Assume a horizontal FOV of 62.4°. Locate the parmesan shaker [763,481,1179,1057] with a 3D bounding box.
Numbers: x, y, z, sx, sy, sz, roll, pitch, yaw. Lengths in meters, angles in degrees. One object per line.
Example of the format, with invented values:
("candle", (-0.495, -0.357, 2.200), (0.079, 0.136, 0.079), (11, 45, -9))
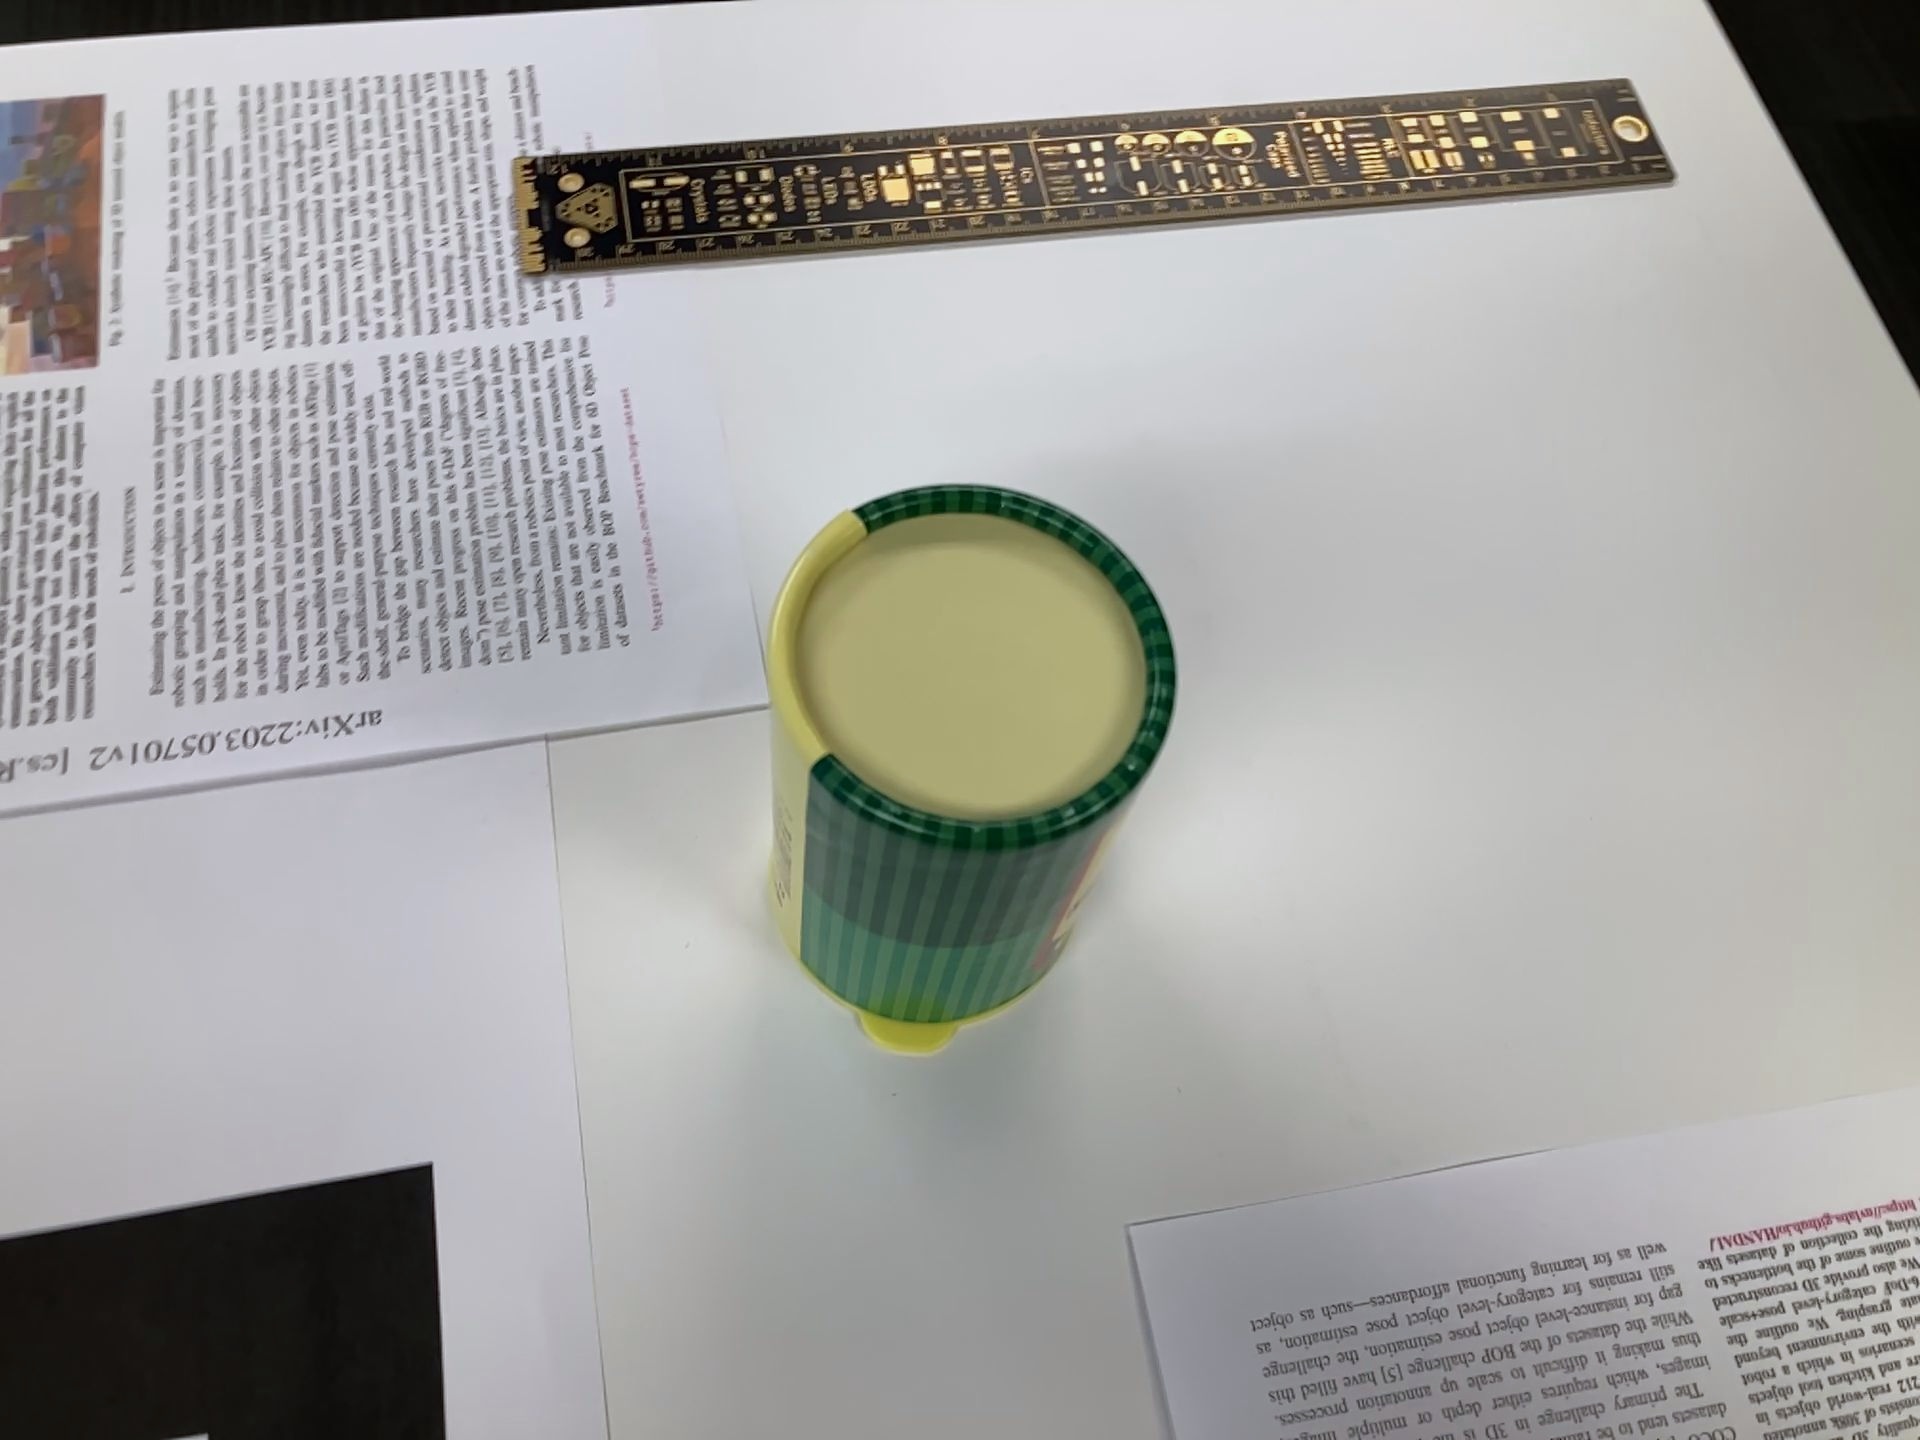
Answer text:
("parmesan shaker", (-0.002, 0.014, 0.288), (0.071, 0.103, 0.071), (2, 65, -5))
